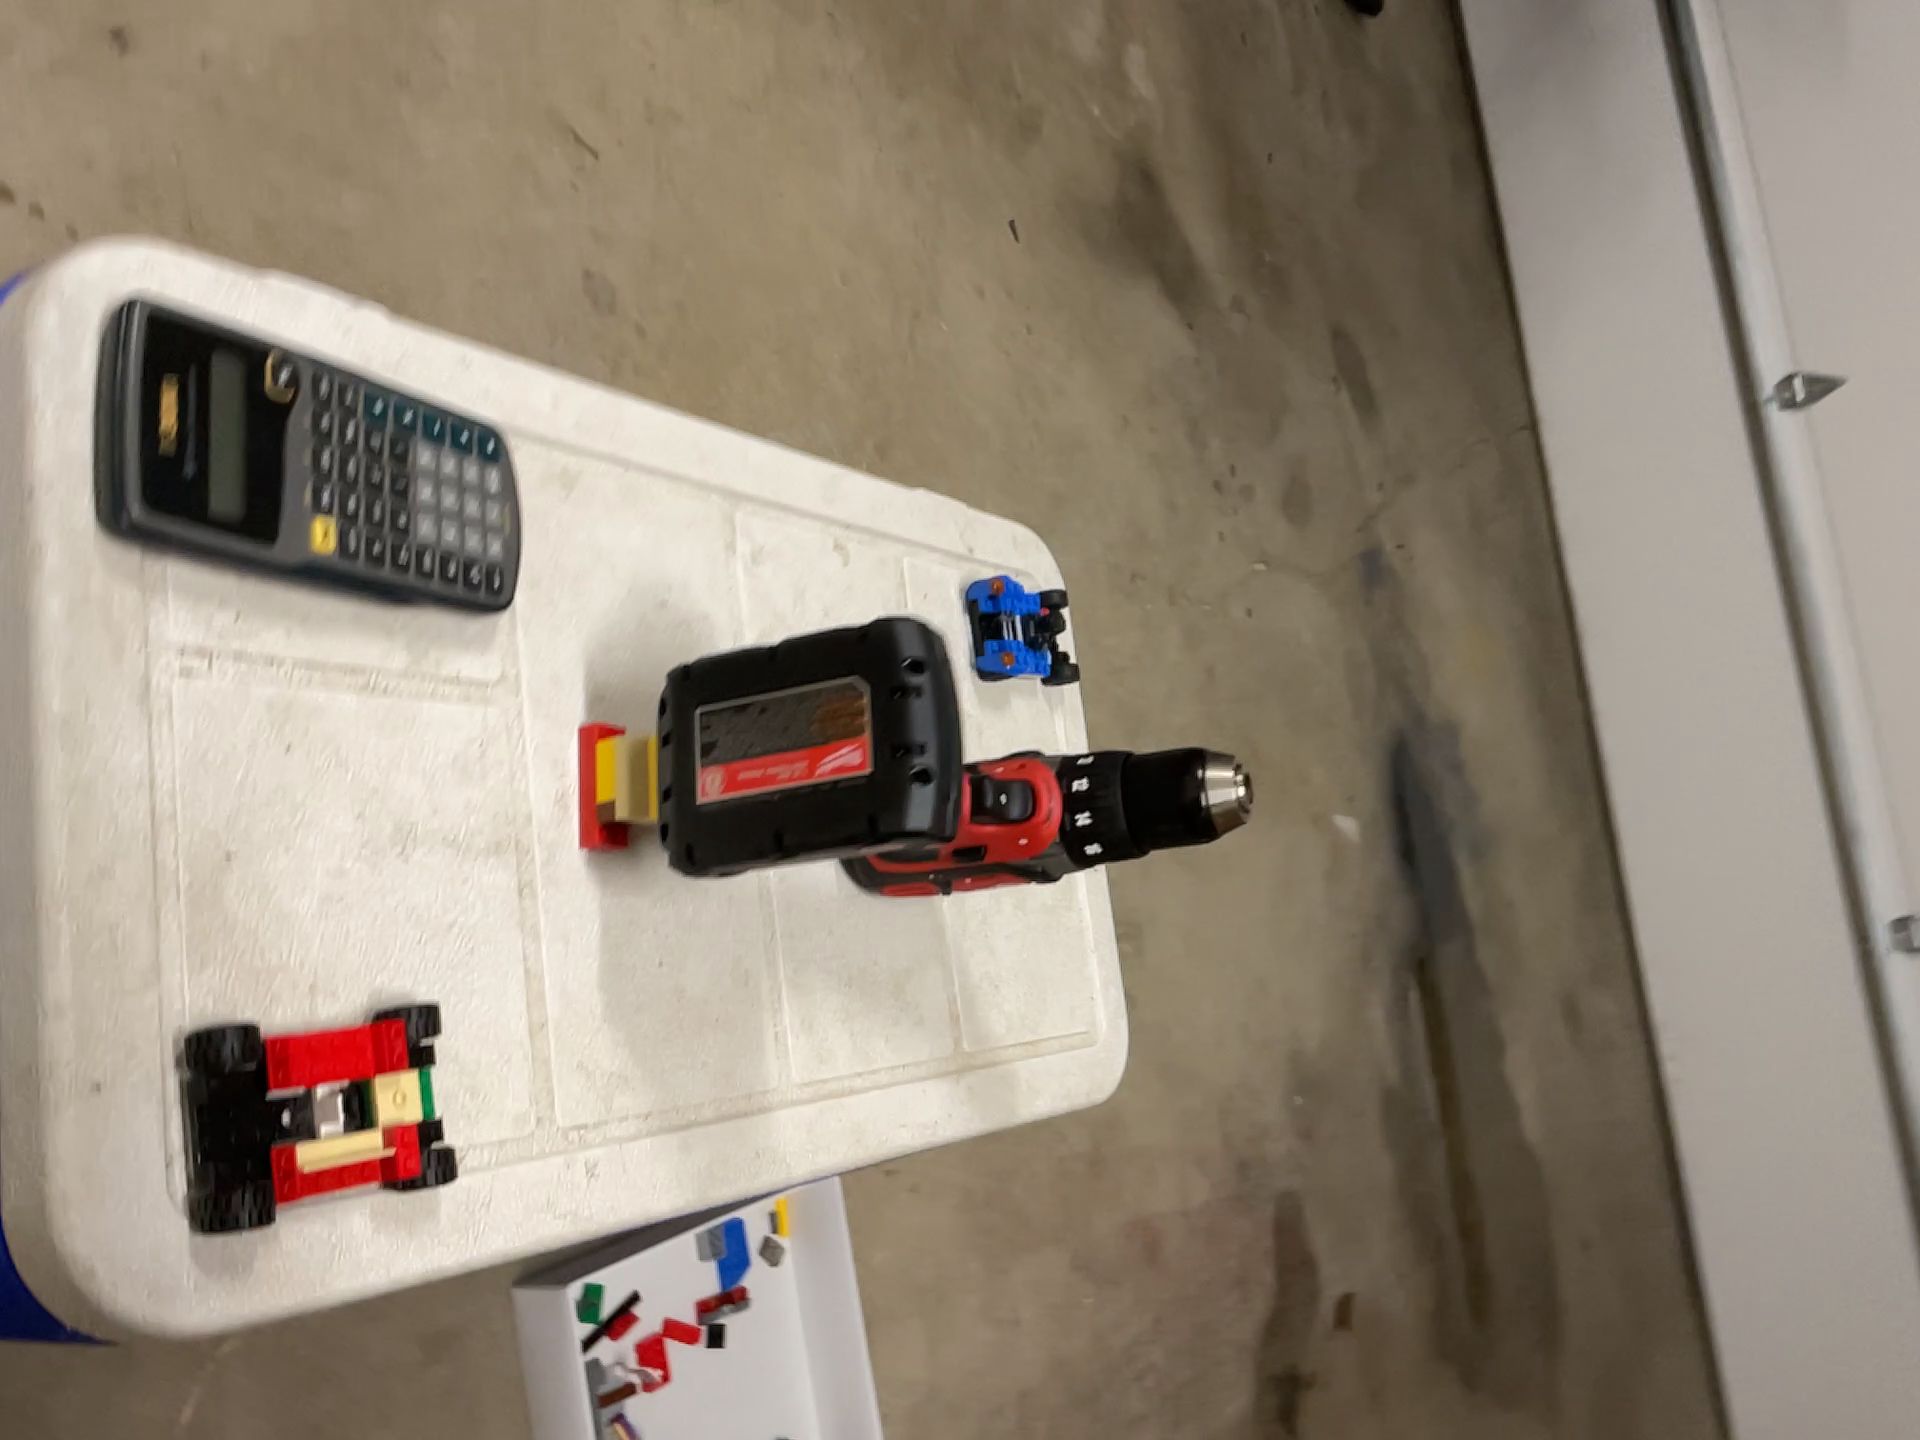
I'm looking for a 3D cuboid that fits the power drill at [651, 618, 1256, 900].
[{"bbox_3d":[0.004,0.028,0.648,0.226,0.187,0.080,25,59,-61],"label":"power drill"}]
